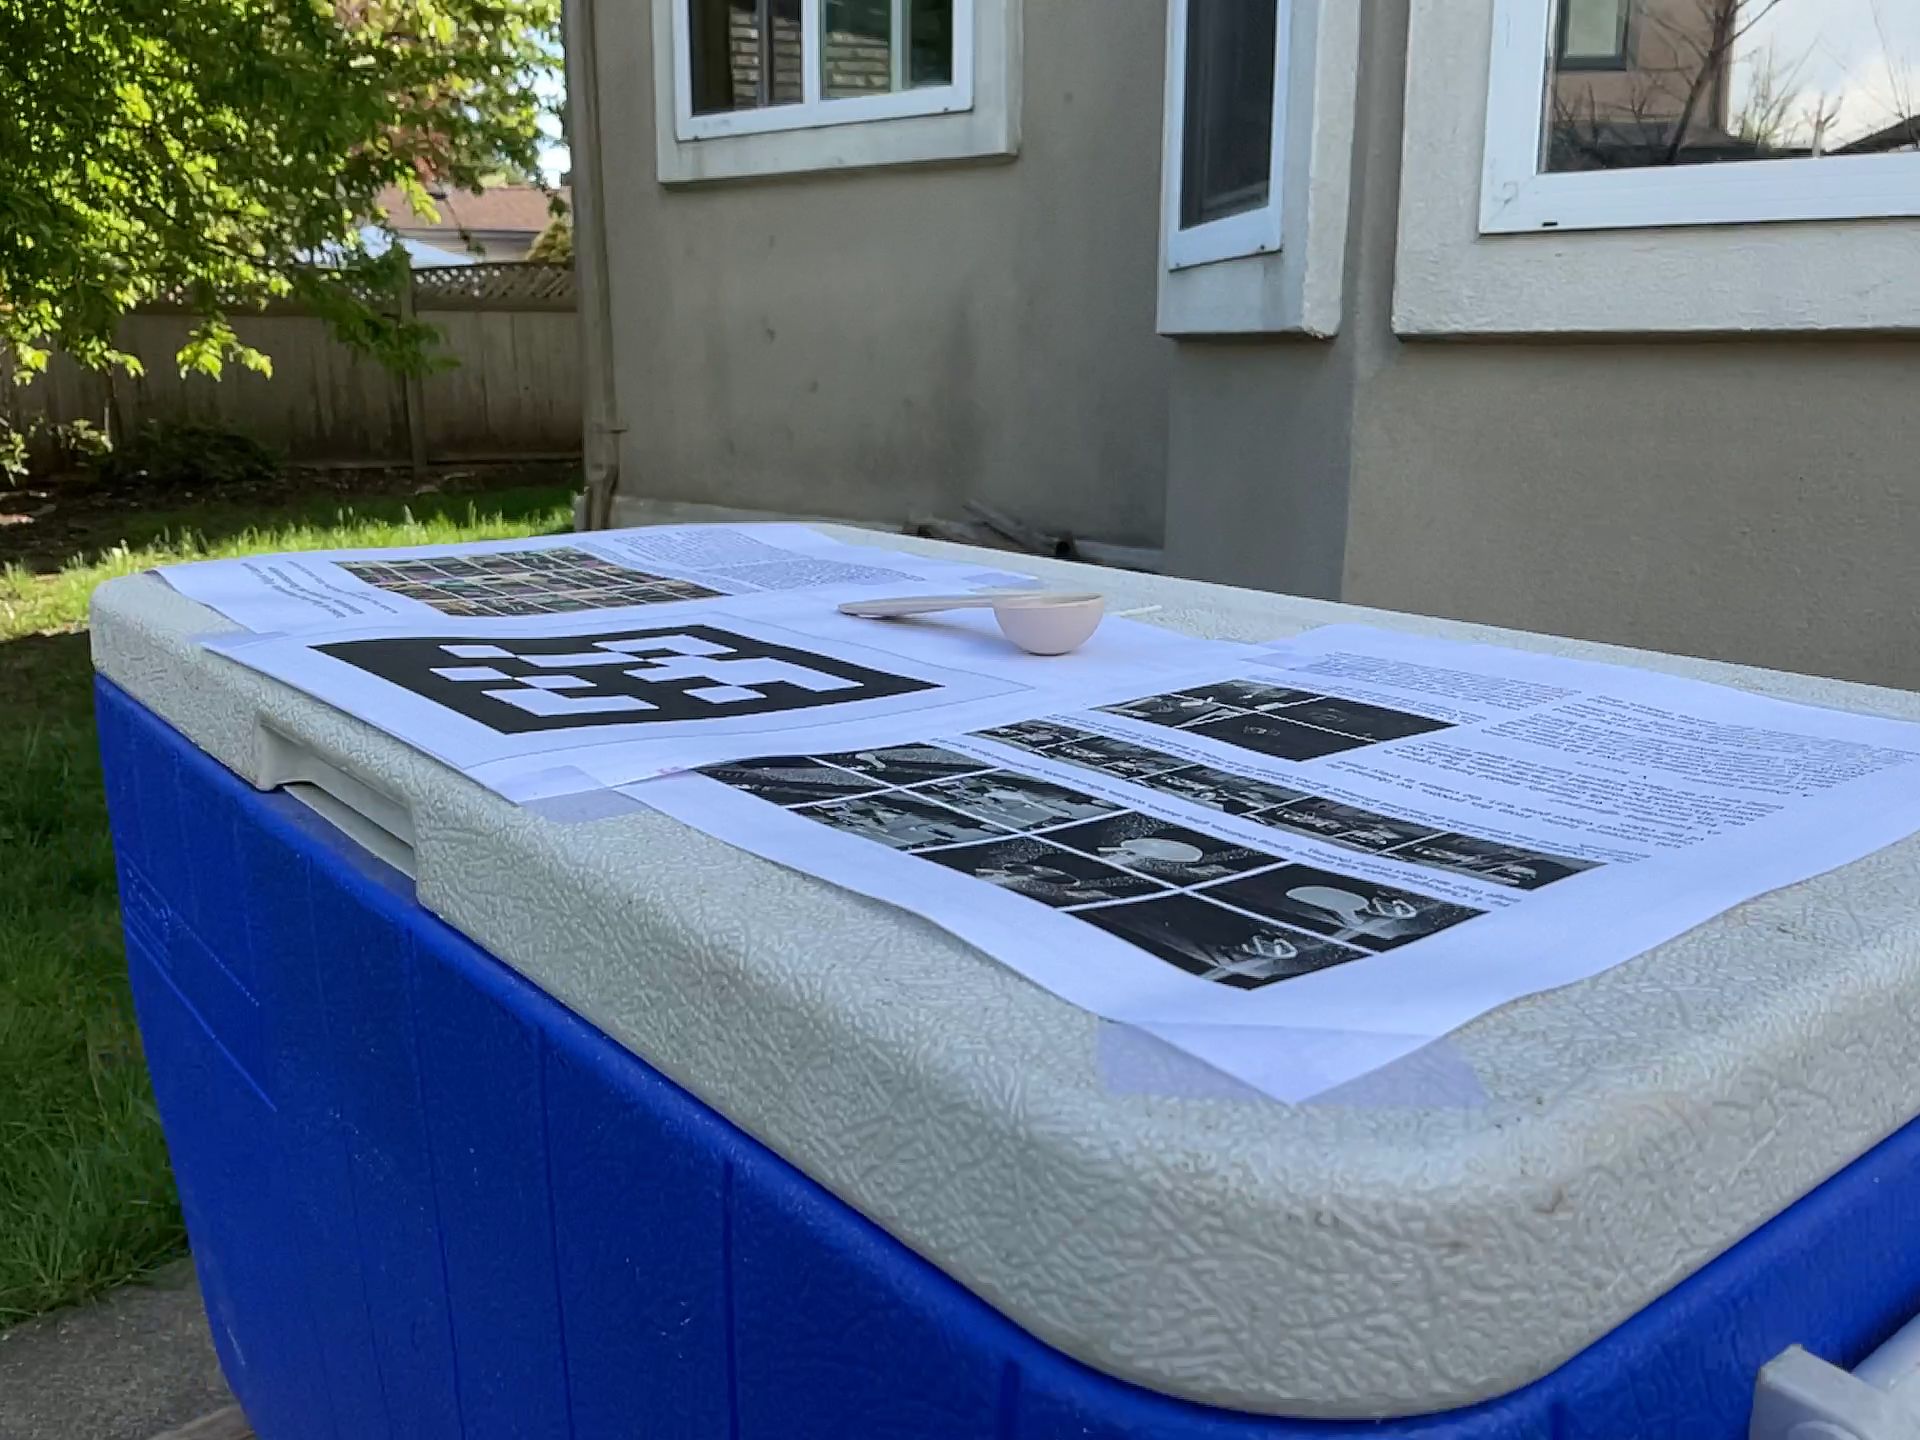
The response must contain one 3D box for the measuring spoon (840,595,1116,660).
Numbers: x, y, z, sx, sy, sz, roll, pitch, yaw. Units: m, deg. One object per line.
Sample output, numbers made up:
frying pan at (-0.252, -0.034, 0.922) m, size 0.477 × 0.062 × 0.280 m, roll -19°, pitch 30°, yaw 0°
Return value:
measuring spoon at (0.001, -0.029, 0.507) m, size 0.034 × 0.018 × 0.124 m, roll -12°, pitch 11°, yaw -38°
